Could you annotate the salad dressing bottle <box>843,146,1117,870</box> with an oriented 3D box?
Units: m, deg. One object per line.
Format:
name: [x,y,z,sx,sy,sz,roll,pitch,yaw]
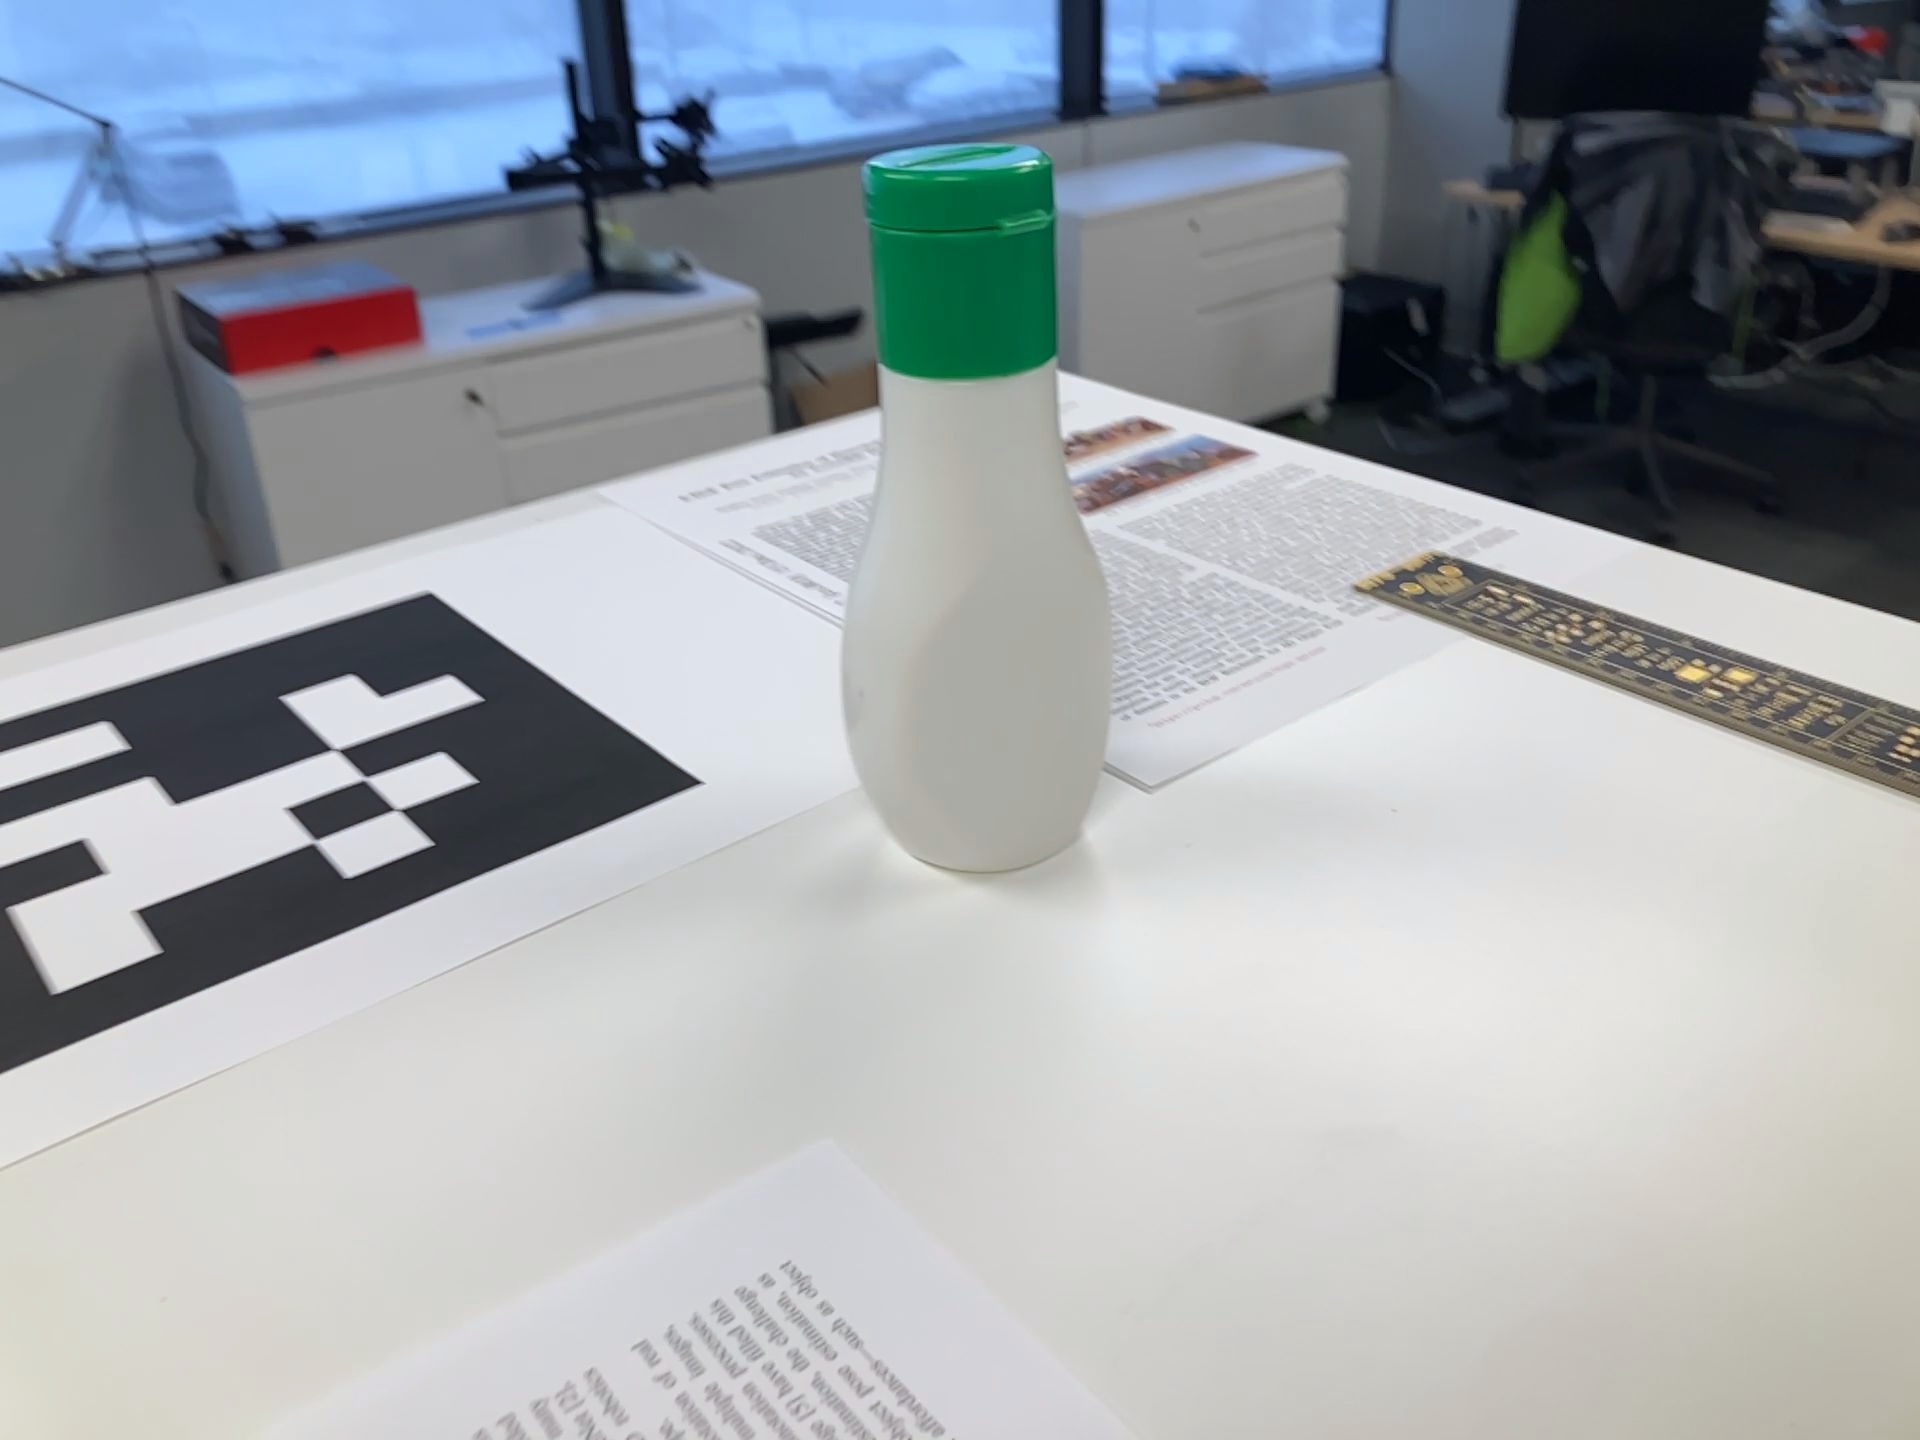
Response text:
salad dressing bottle: [0.004,-0.042,0.335,0.064,0.147,0.044,-22,33,-33]
